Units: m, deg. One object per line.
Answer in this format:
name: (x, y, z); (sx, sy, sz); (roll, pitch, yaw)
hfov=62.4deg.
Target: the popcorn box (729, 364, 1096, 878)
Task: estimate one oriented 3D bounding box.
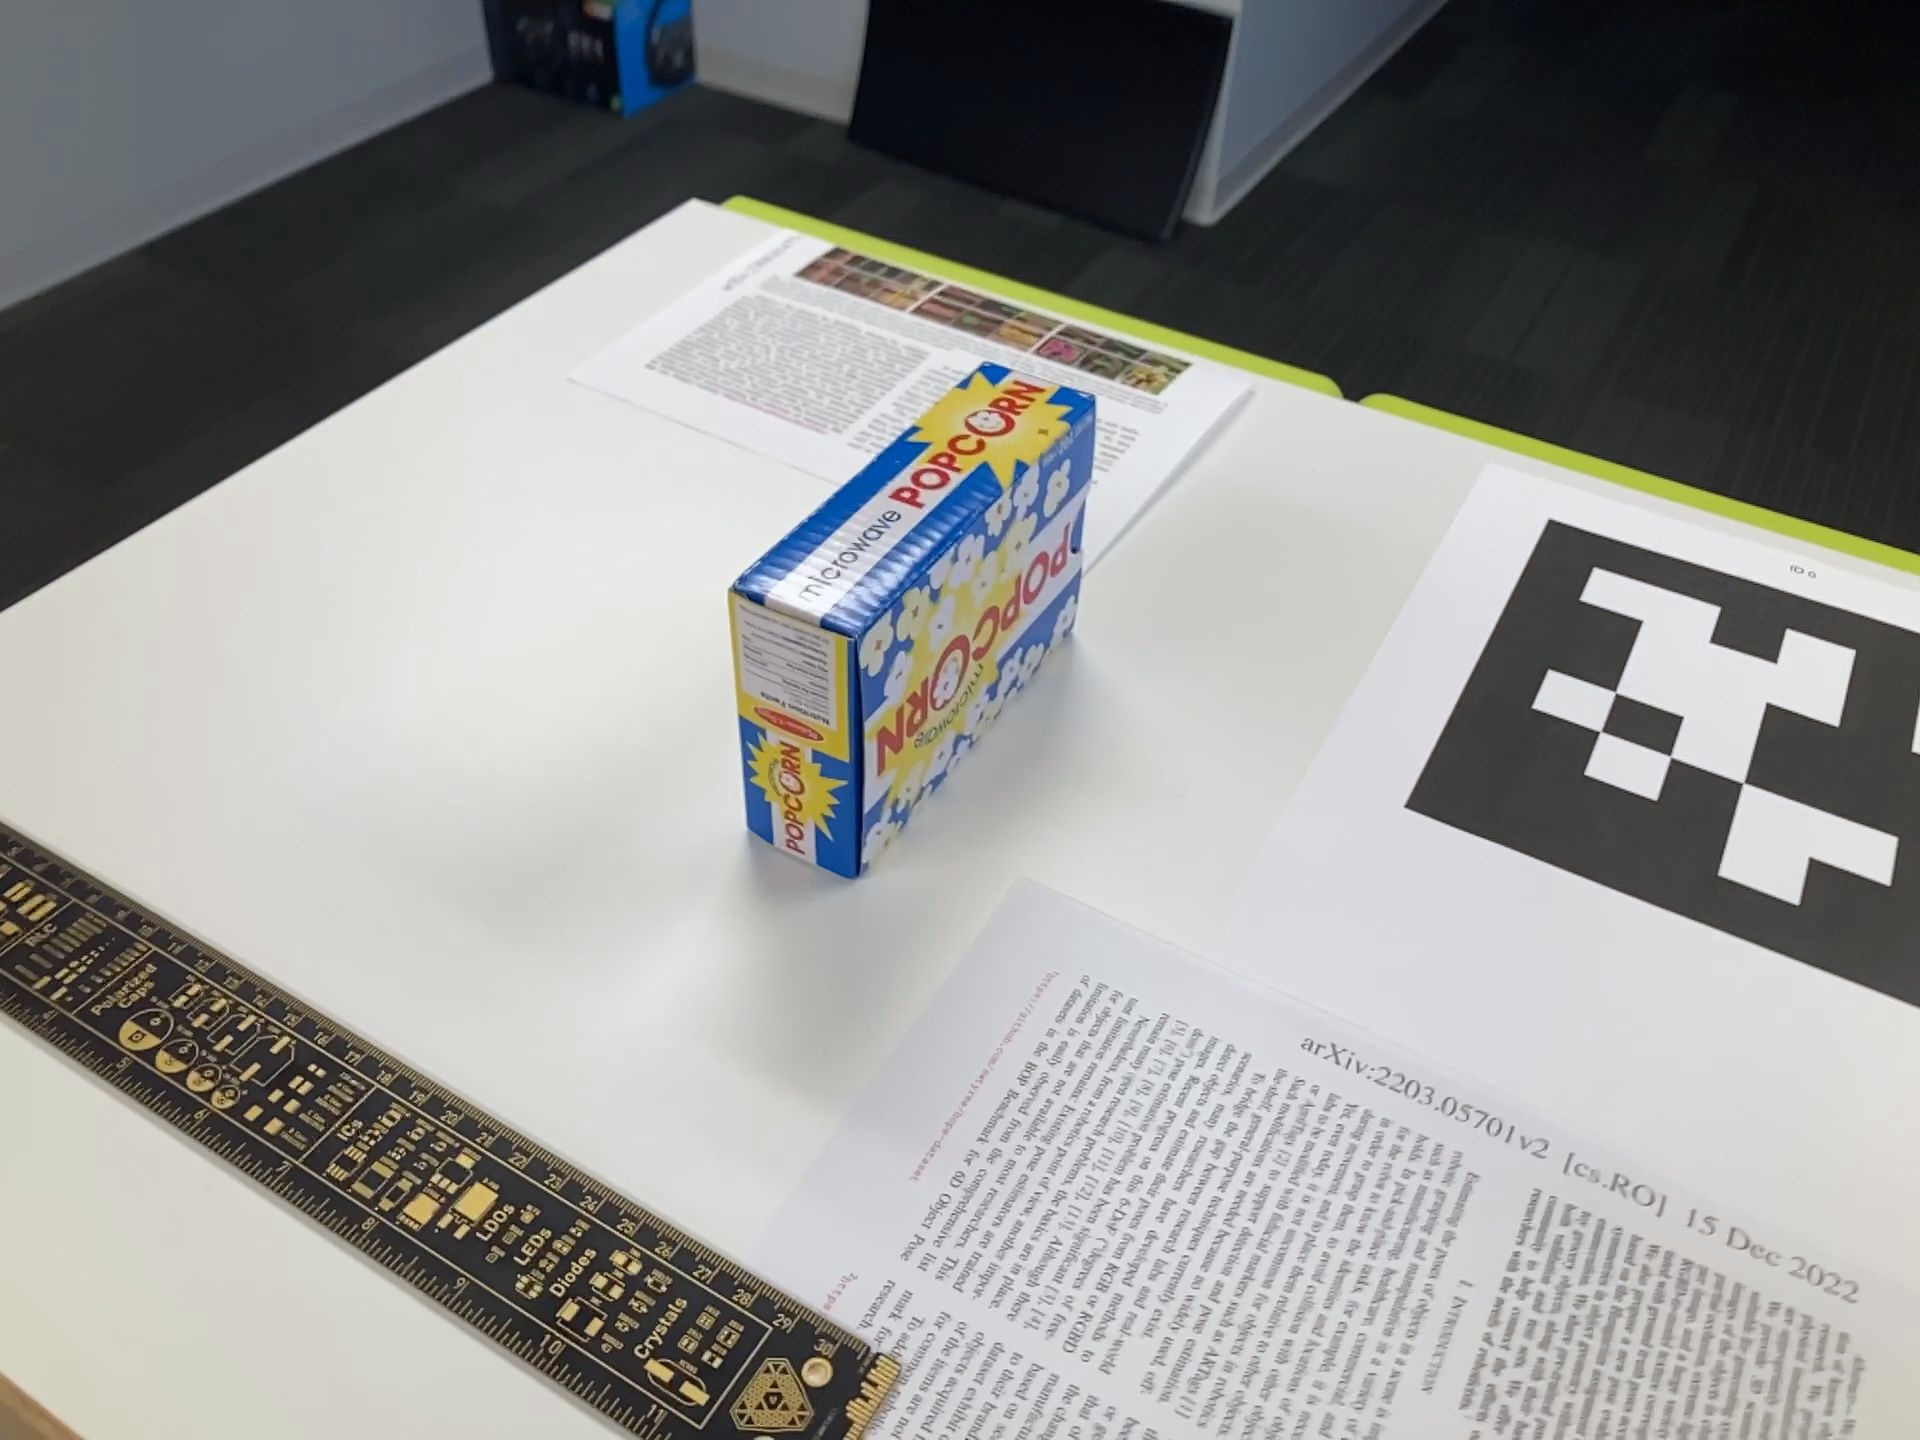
popcorn box: (-0.010, -0.030, 0.433); (0.038, 0.085, 0.126); (22, 46, 21)
